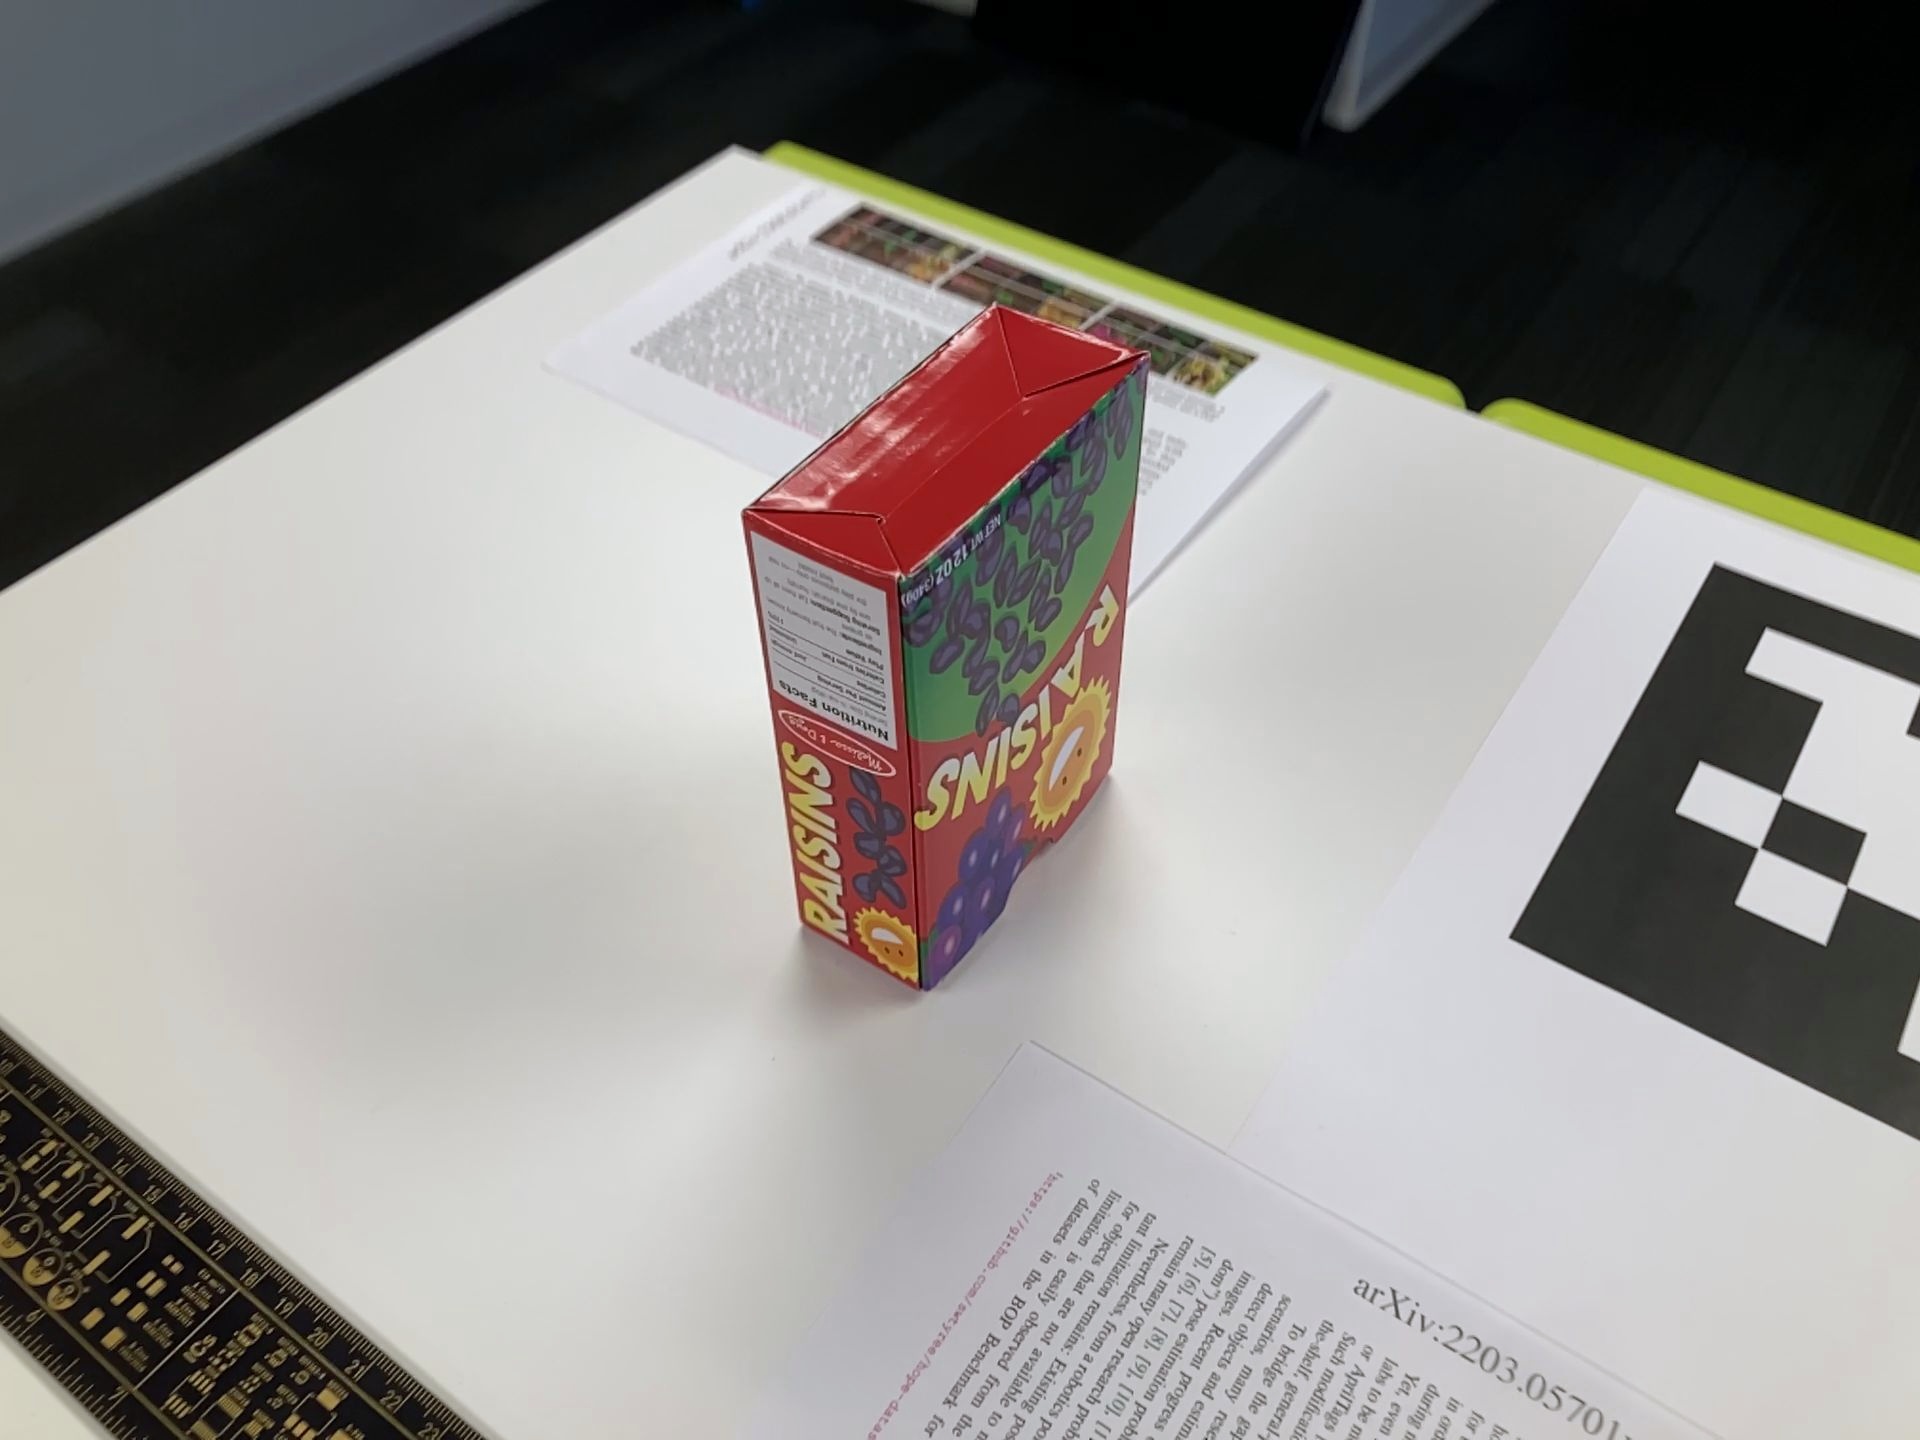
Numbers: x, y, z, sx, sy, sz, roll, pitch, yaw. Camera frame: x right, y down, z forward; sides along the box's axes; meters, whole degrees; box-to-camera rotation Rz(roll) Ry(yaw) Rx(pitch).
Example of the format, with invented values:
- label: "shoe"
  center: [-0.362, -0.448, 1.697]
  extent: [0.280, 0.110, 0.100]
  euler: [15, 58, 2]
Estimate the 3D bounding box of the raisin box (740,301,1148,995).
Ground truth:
- label: "raisin box"
  center: [0.001, -0.012, 0.339]
  extent: [0.040, 0.123, 0.086]
  euler: [25, 51, 23]
